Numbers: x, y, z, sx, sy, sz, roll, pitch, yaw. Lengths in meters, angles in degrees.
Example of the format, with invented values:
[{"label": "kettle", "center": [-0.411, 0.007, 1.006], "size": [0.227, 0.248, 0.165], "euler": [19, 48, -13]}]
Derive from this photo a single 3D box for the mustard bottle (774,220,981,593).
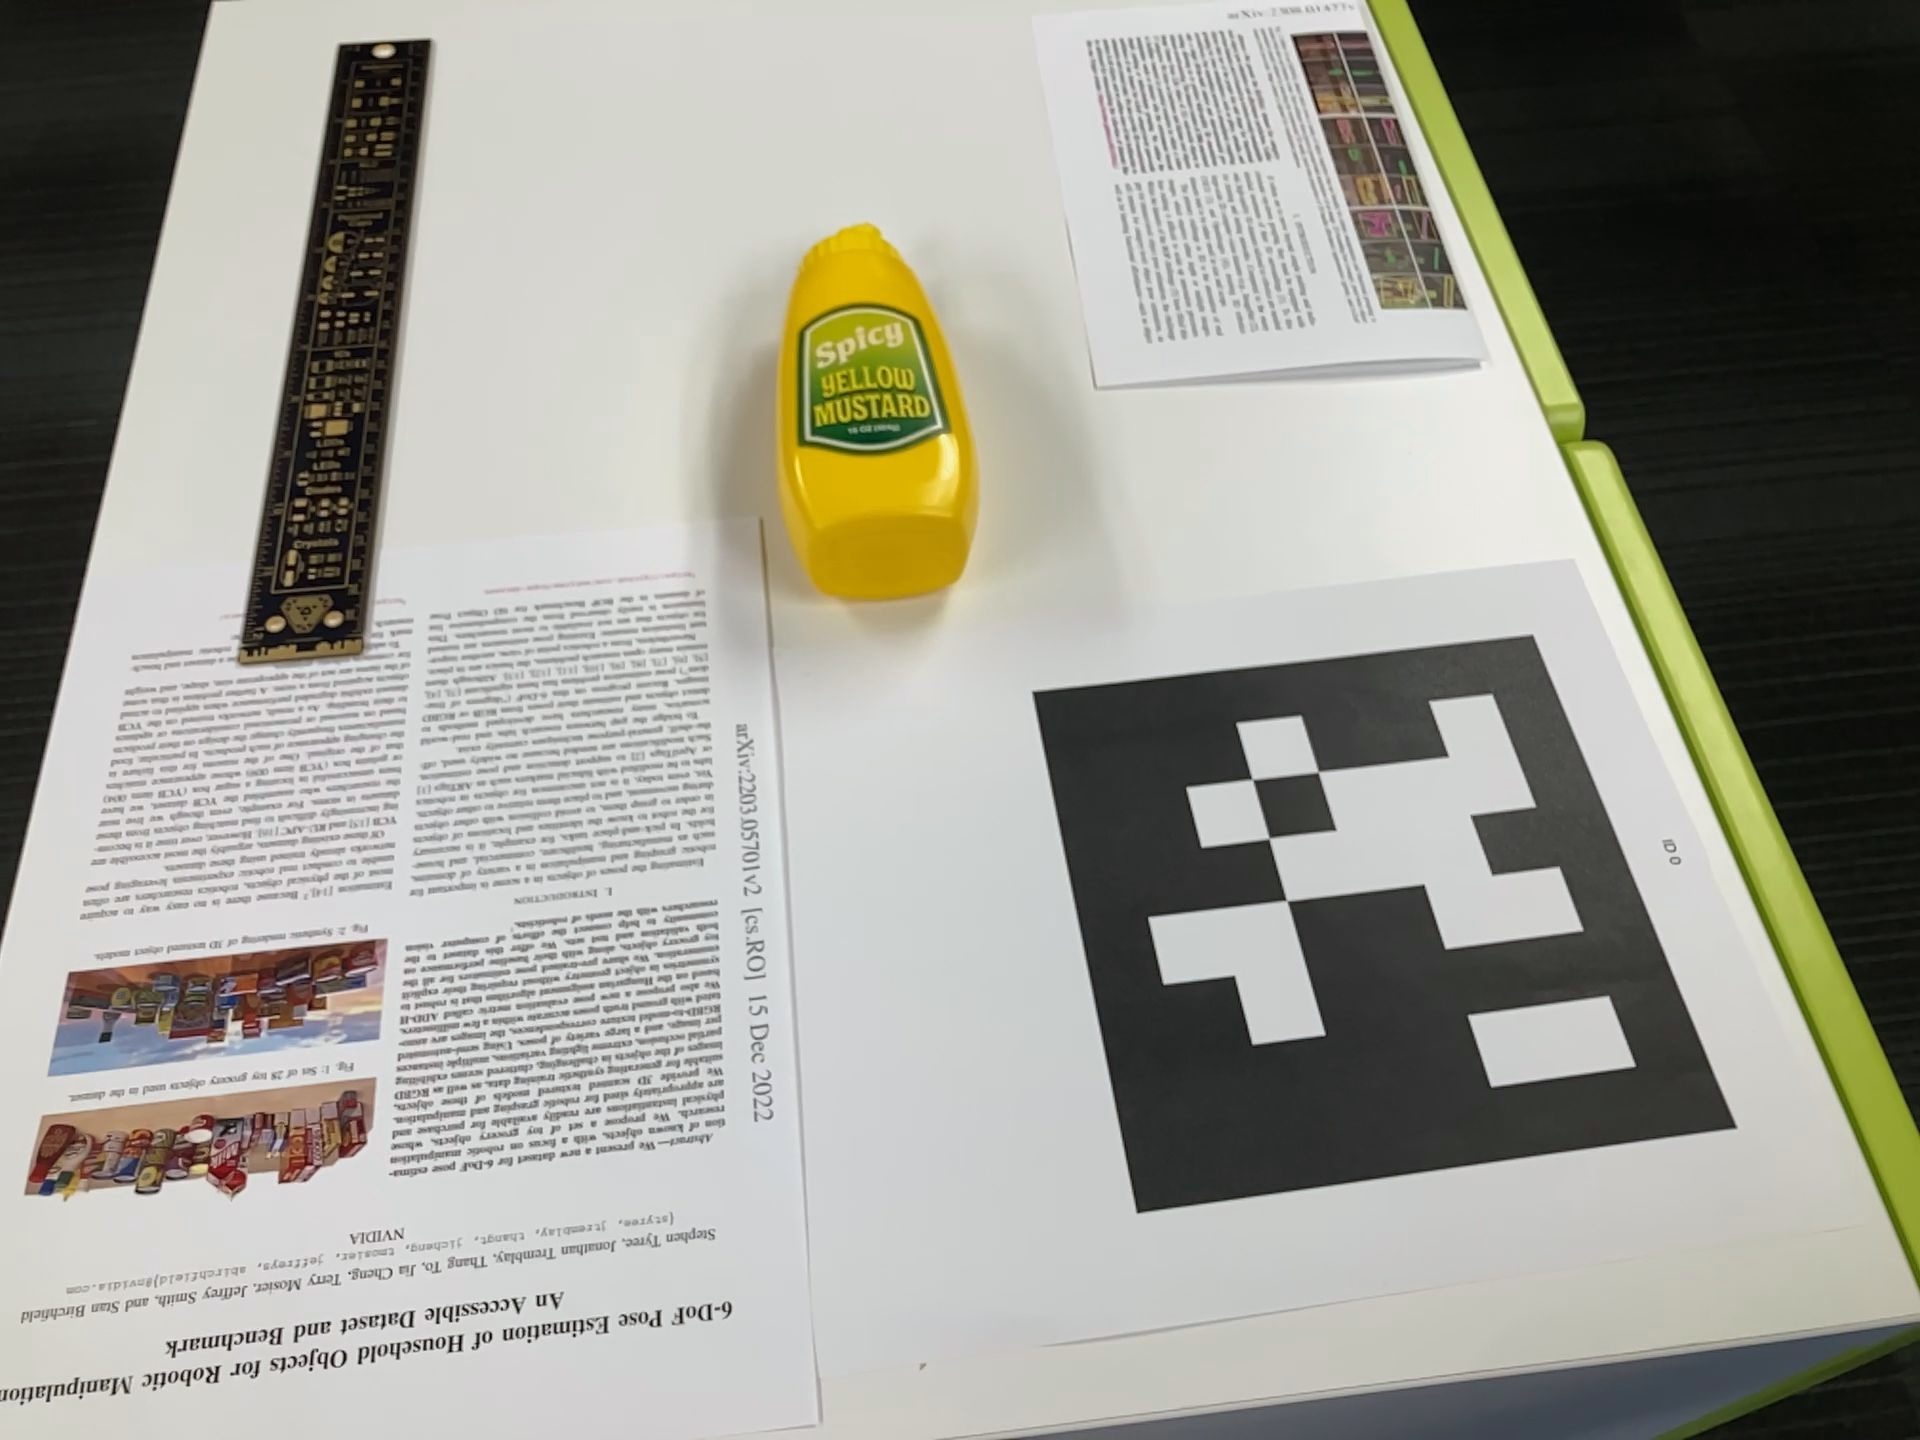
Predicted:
[{"label": "mustard bottle", "center": [-0.033, -0.117, 0.534], "size": [0.065, 0.049, 0.160], "euler": [-6, 57, -5]}]
